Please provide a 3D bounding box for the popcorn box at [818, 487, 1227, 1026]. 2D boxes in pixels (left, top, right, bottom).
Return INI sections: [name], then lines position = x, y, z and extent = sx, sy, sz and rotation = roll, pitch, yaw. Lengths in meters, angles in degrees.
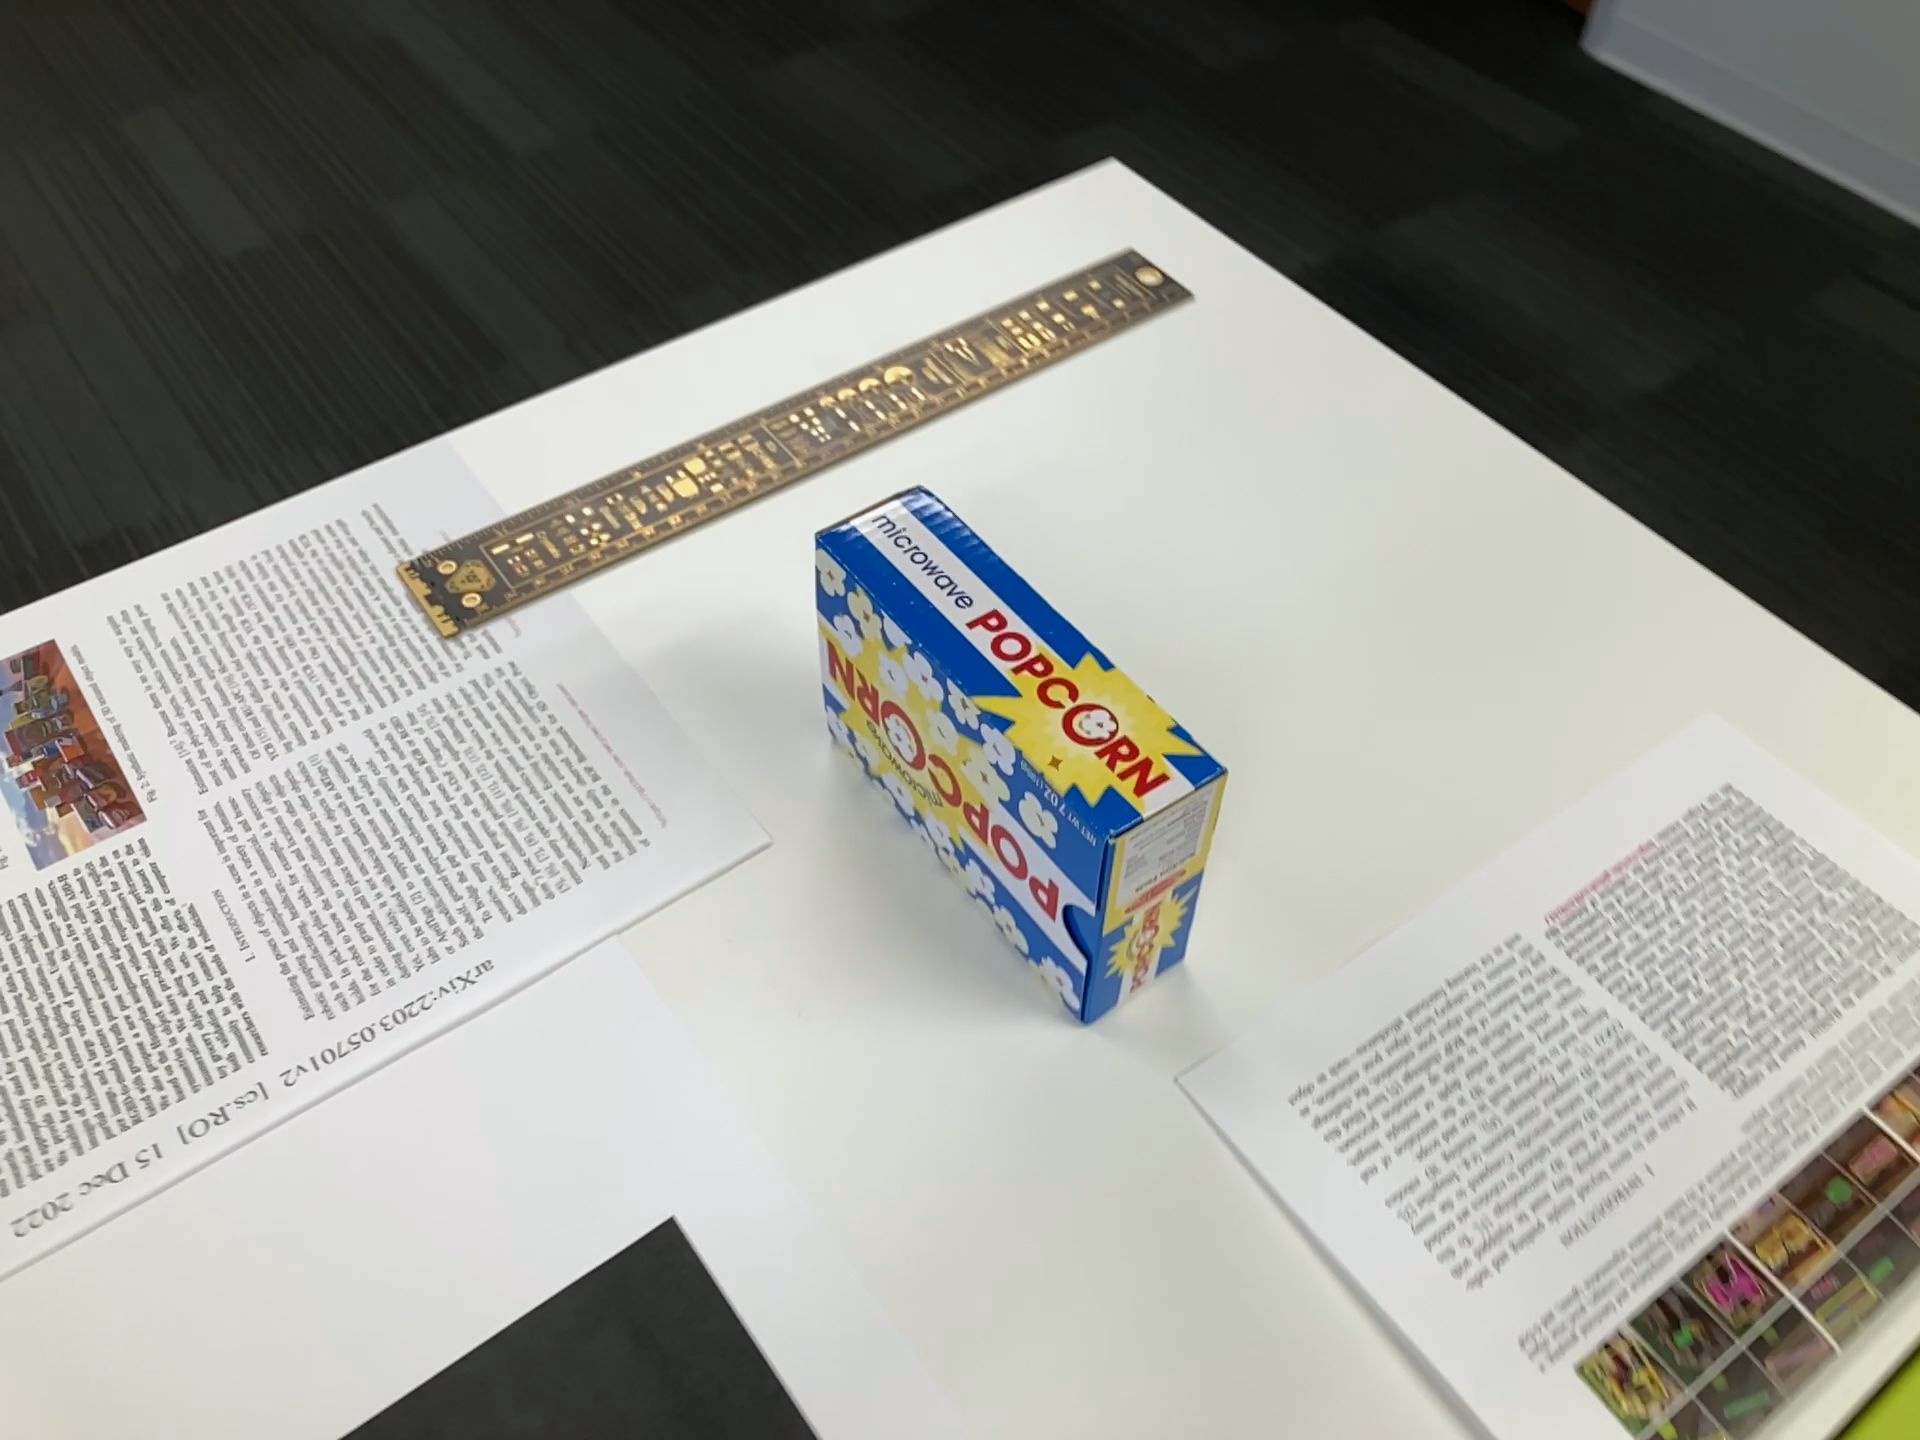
[popcorn box]
position = 0.011, 0.008, 0.429
extent = 0.038, 0.085, 0.126
rotation = -28, 56, -24
